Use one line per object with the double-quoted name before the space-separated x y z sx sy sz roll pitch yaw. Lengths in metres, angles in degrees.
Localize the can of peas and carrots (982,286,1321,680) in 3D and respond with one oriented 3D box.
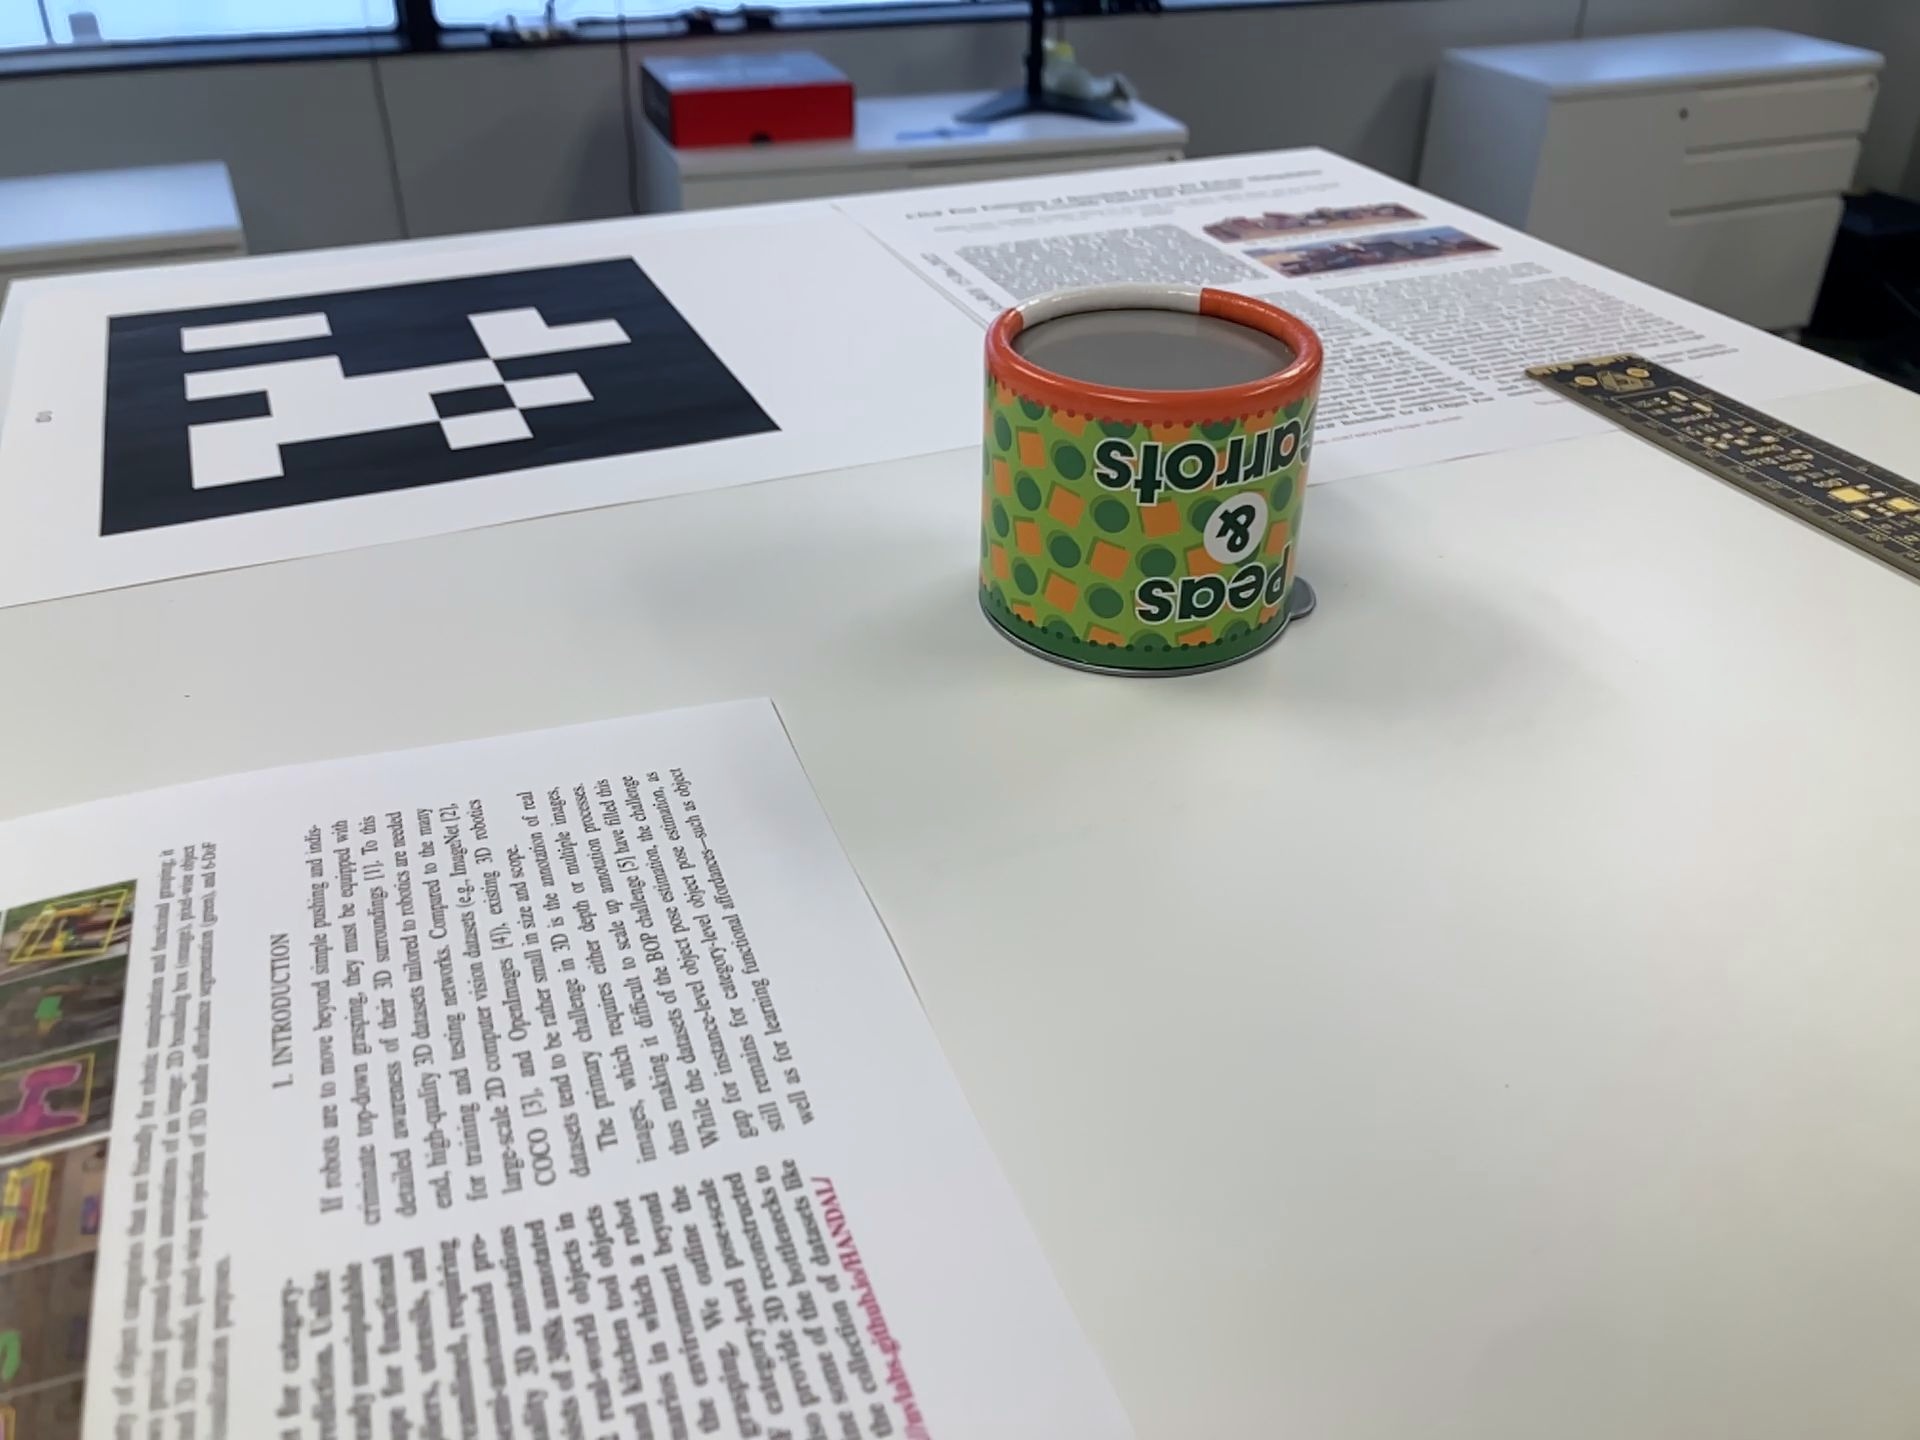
"can of peas and carrots" 0.039 -0.050 0.324 0.071 0.059 0.071 0 33 0
